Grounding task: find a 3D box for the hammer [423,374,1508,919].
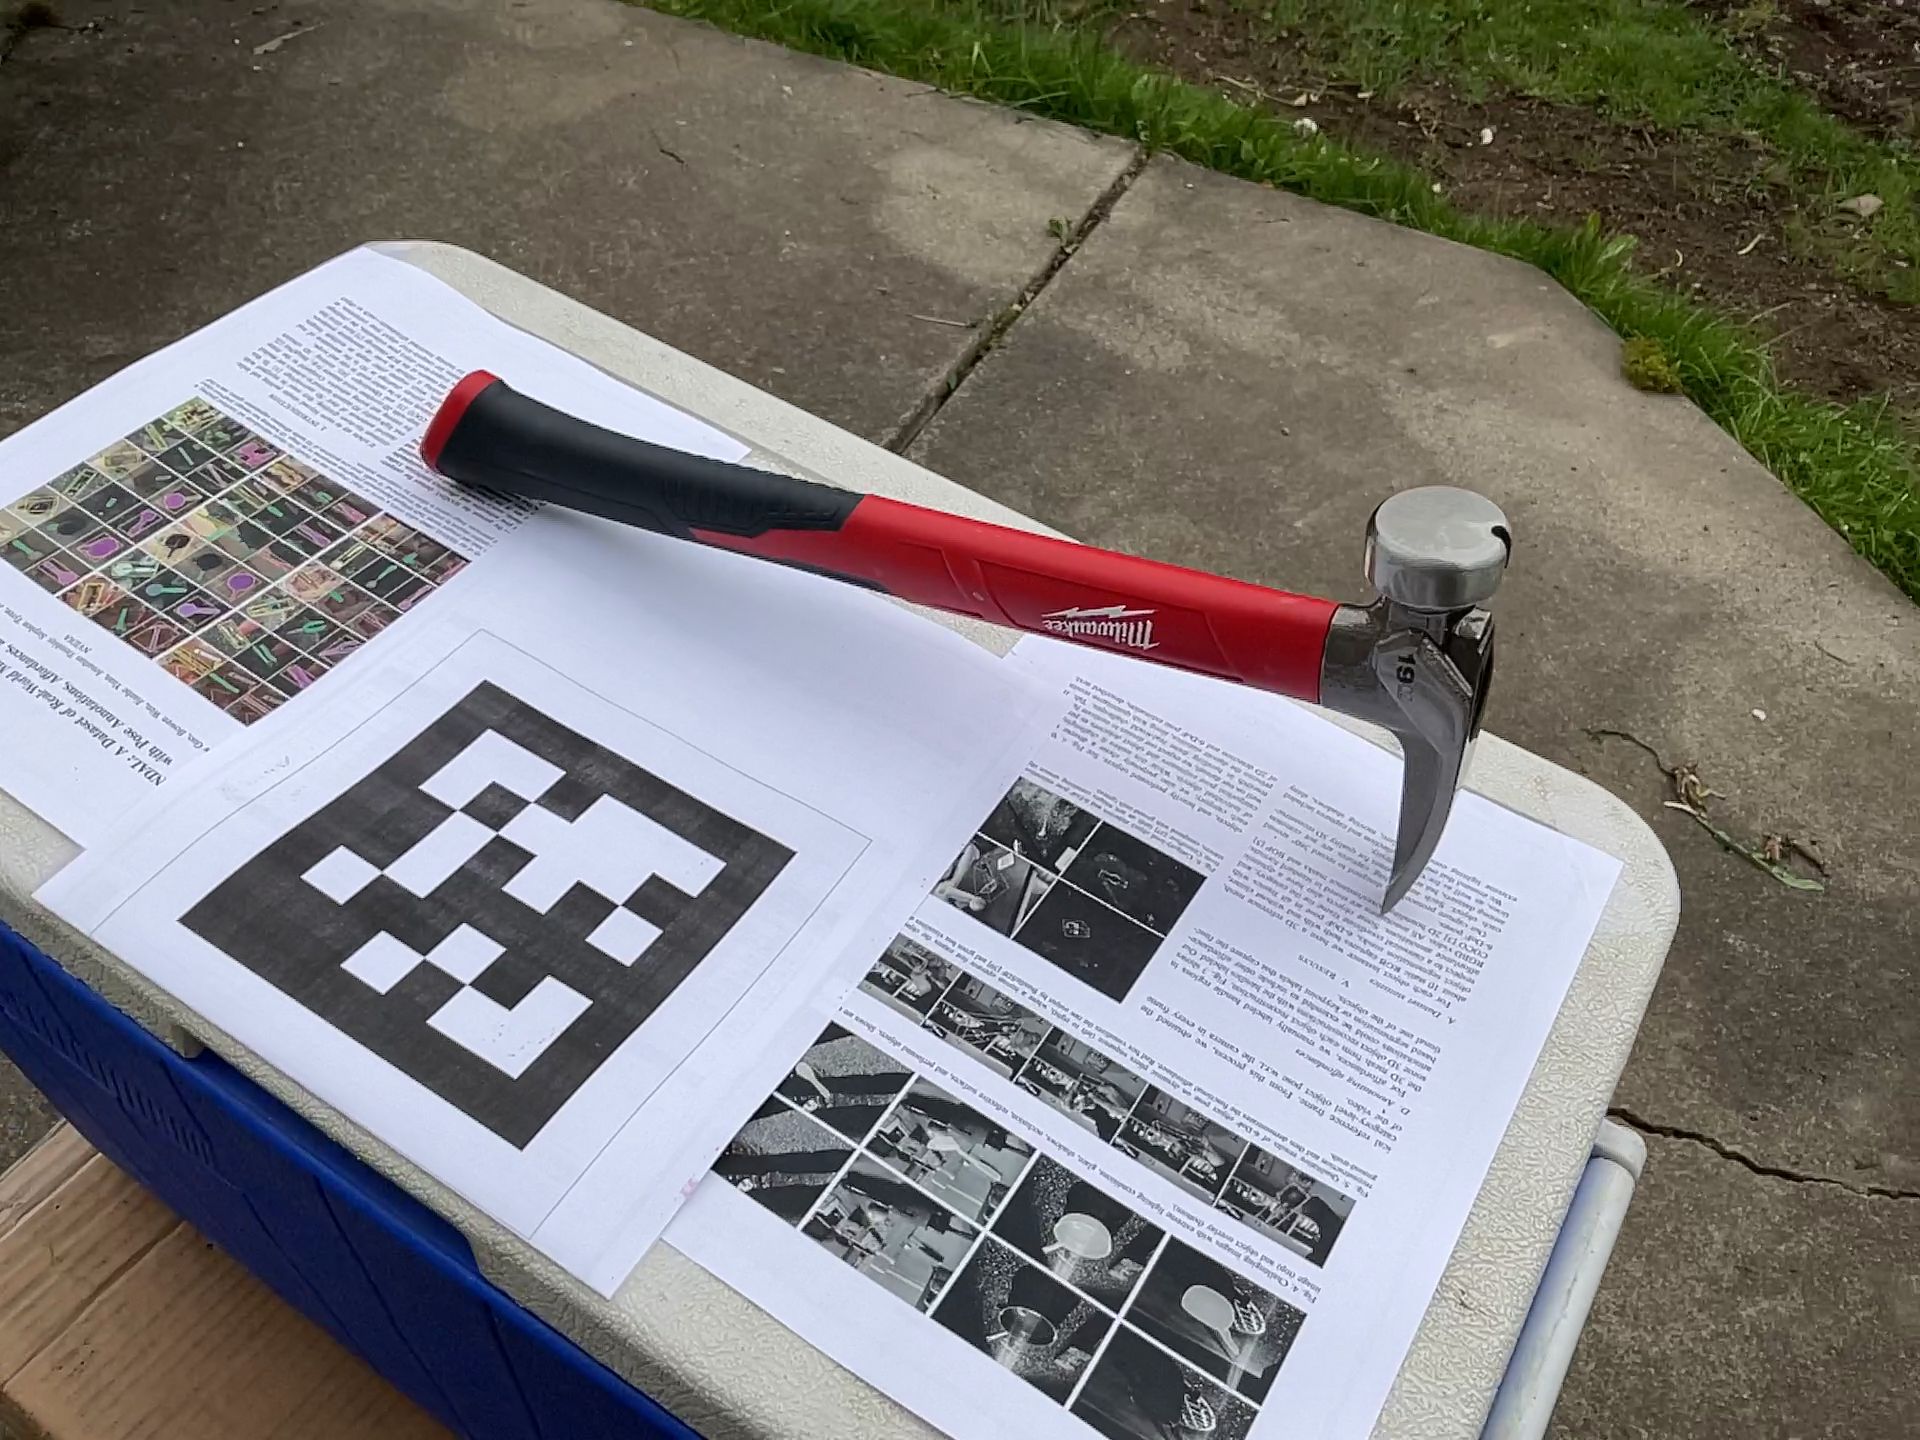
[{"bbox_3d":[-0.021,-0.045,0.544,0.386,0.143,0.038,16,46,23],"label":"hammer"}]
